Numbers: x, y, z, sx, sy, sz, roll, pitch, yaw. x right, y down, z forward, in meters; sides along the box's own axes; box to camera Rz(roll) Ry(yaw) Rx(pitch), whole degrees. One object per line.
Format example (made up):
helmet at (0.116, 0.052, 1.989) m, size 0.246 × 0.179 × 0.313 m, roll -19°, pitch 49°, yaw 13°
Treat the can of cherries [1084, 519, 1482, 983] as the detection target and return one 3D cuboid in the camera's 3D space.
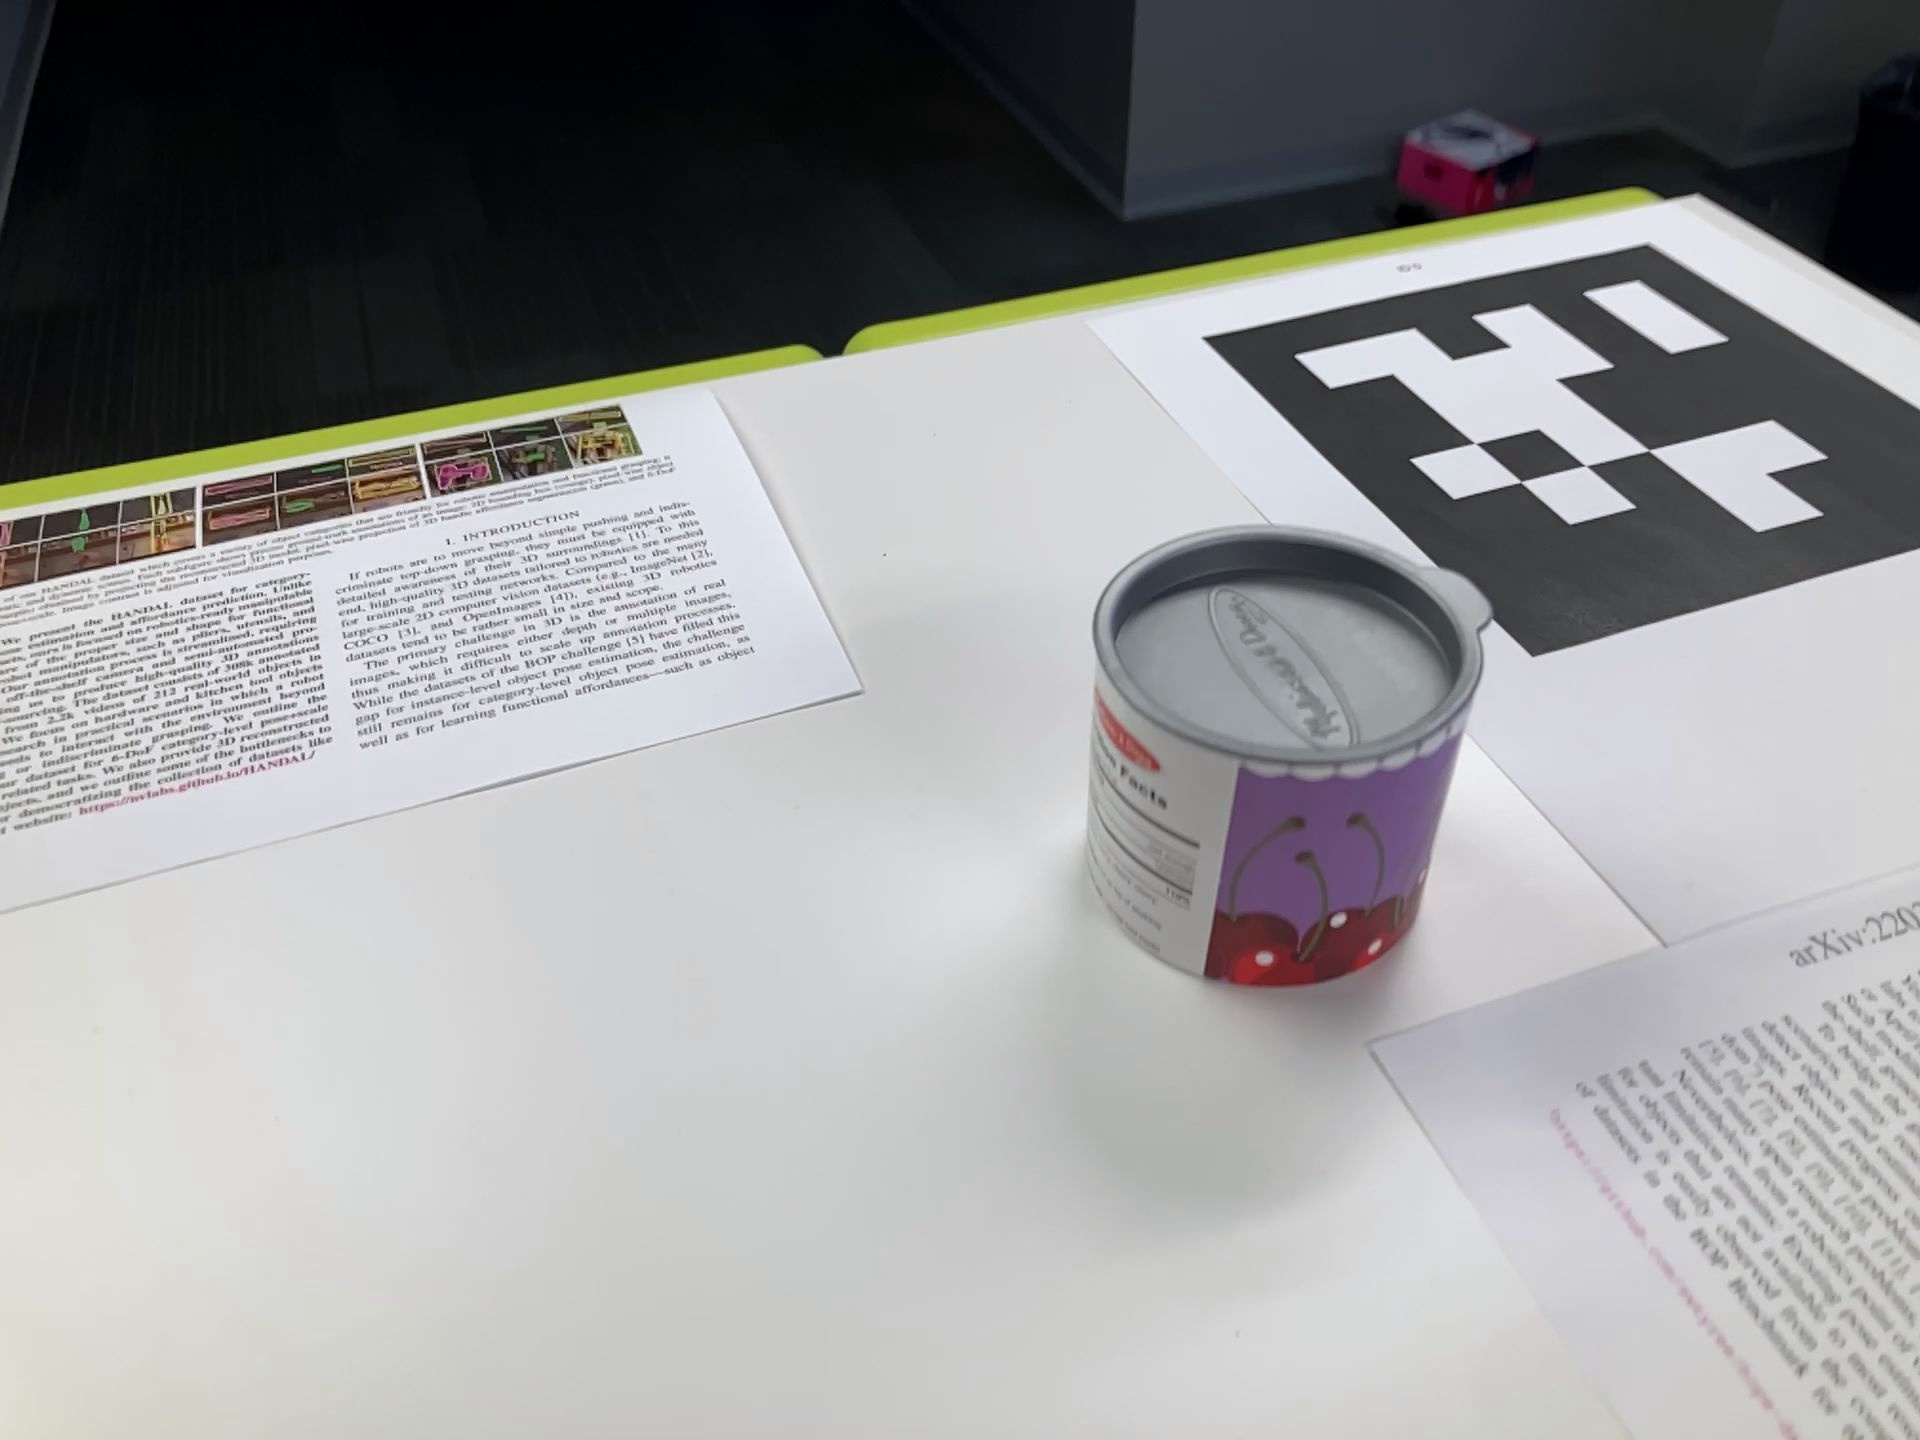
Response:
can of cherries at (0.059, 0.005, 0.292) m, size 0.071 × 0.058 × 0.071 m, roll -1°, pitch 41°, yaw 1°
